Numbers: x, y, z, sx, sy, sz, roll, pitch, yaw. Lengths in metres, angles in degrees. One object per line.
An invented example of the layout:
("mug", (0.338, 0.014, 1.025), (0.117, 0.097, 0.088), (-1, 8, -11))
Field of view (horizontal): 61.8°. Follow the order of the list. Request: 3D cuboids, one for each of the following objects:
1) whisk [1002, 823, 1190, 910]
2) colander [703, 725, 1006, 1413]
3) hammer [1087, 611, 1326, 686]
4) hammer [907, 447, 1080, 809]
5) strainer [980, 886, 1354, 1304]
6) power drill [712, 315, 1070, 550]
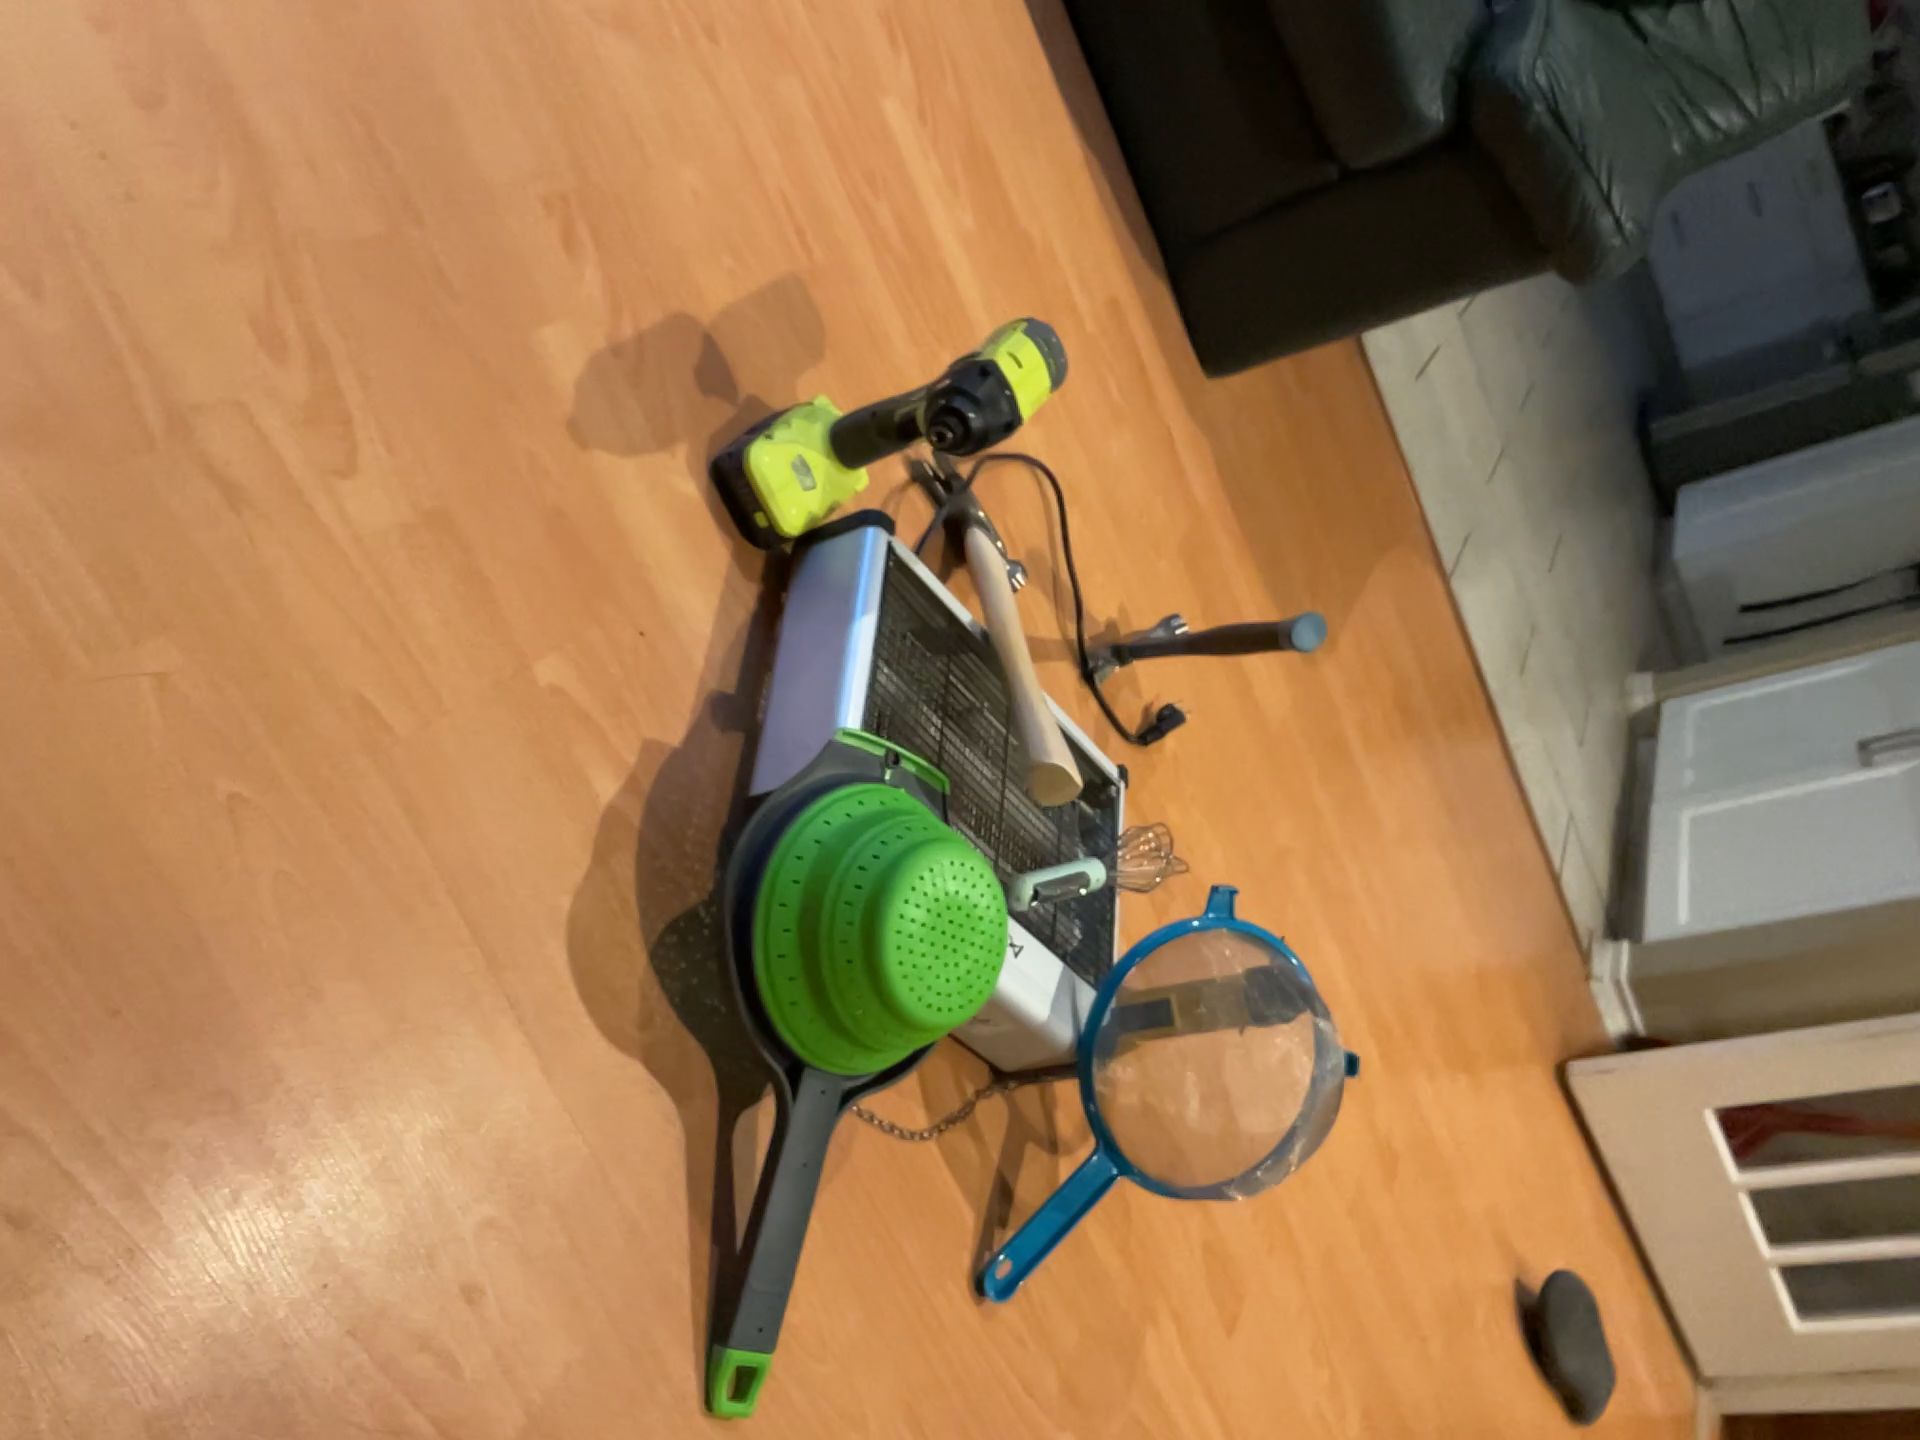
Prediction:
("whisk", (0.104, 0.116, 1.214), (0.246, 0.059, 0.057), (-5, 110, -56))
("colander", (-0.059, 0.200, 0.927), (0.204, 0.094, 0.397), (29, 69, -42))
("hammer", (0.216, -0.070, 1.413), (0.128, 0.331, 0.033), (-23, 98, -19))
("hammer", (0.028, -0.071, 1.192), (0.146, 0.038, 0.411), (56, 11, -30))
("strainer", (0.152, 0.294, 1.144), (0.340, 0.095, 0.211), (-42, 105, -18))
("power drill", (-0.050, -0.195, 1.090), (0.080, 0.223, 0.171), (63, 32, -17))
